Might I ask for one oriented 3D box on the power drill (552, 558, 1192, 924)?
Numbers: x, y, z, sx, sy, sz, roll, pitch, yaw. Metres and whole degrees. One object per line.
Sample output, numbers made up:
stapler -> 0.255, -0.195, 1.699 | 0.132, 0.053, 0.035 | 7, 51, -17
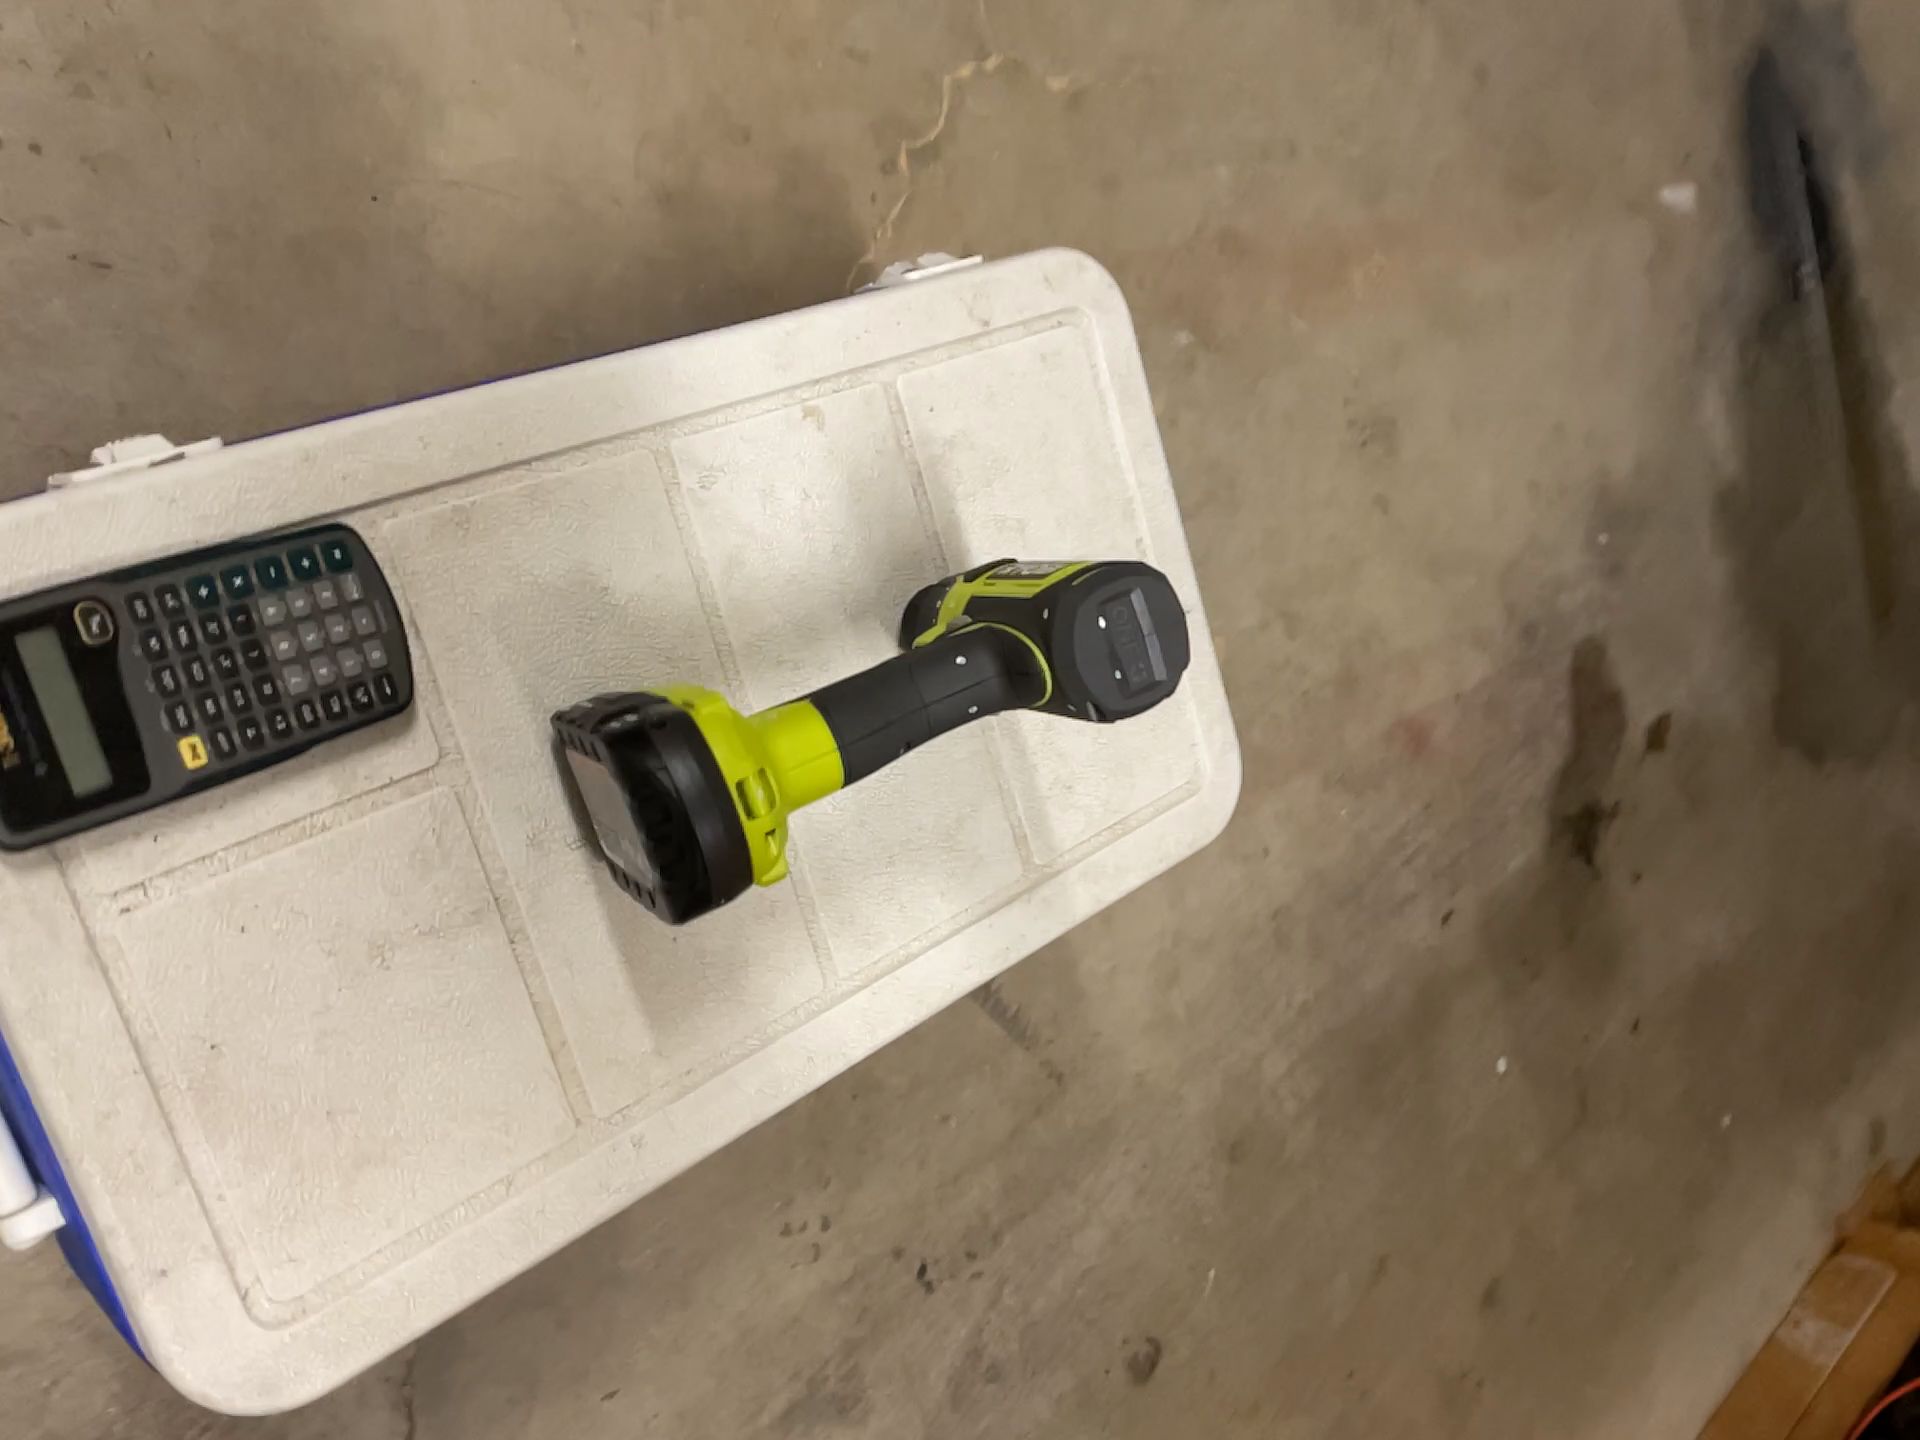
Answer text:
power drill -> -0.043, -0.008, 0.662 | 0.229, 0.190, 0.080 | -24, 105, -22
